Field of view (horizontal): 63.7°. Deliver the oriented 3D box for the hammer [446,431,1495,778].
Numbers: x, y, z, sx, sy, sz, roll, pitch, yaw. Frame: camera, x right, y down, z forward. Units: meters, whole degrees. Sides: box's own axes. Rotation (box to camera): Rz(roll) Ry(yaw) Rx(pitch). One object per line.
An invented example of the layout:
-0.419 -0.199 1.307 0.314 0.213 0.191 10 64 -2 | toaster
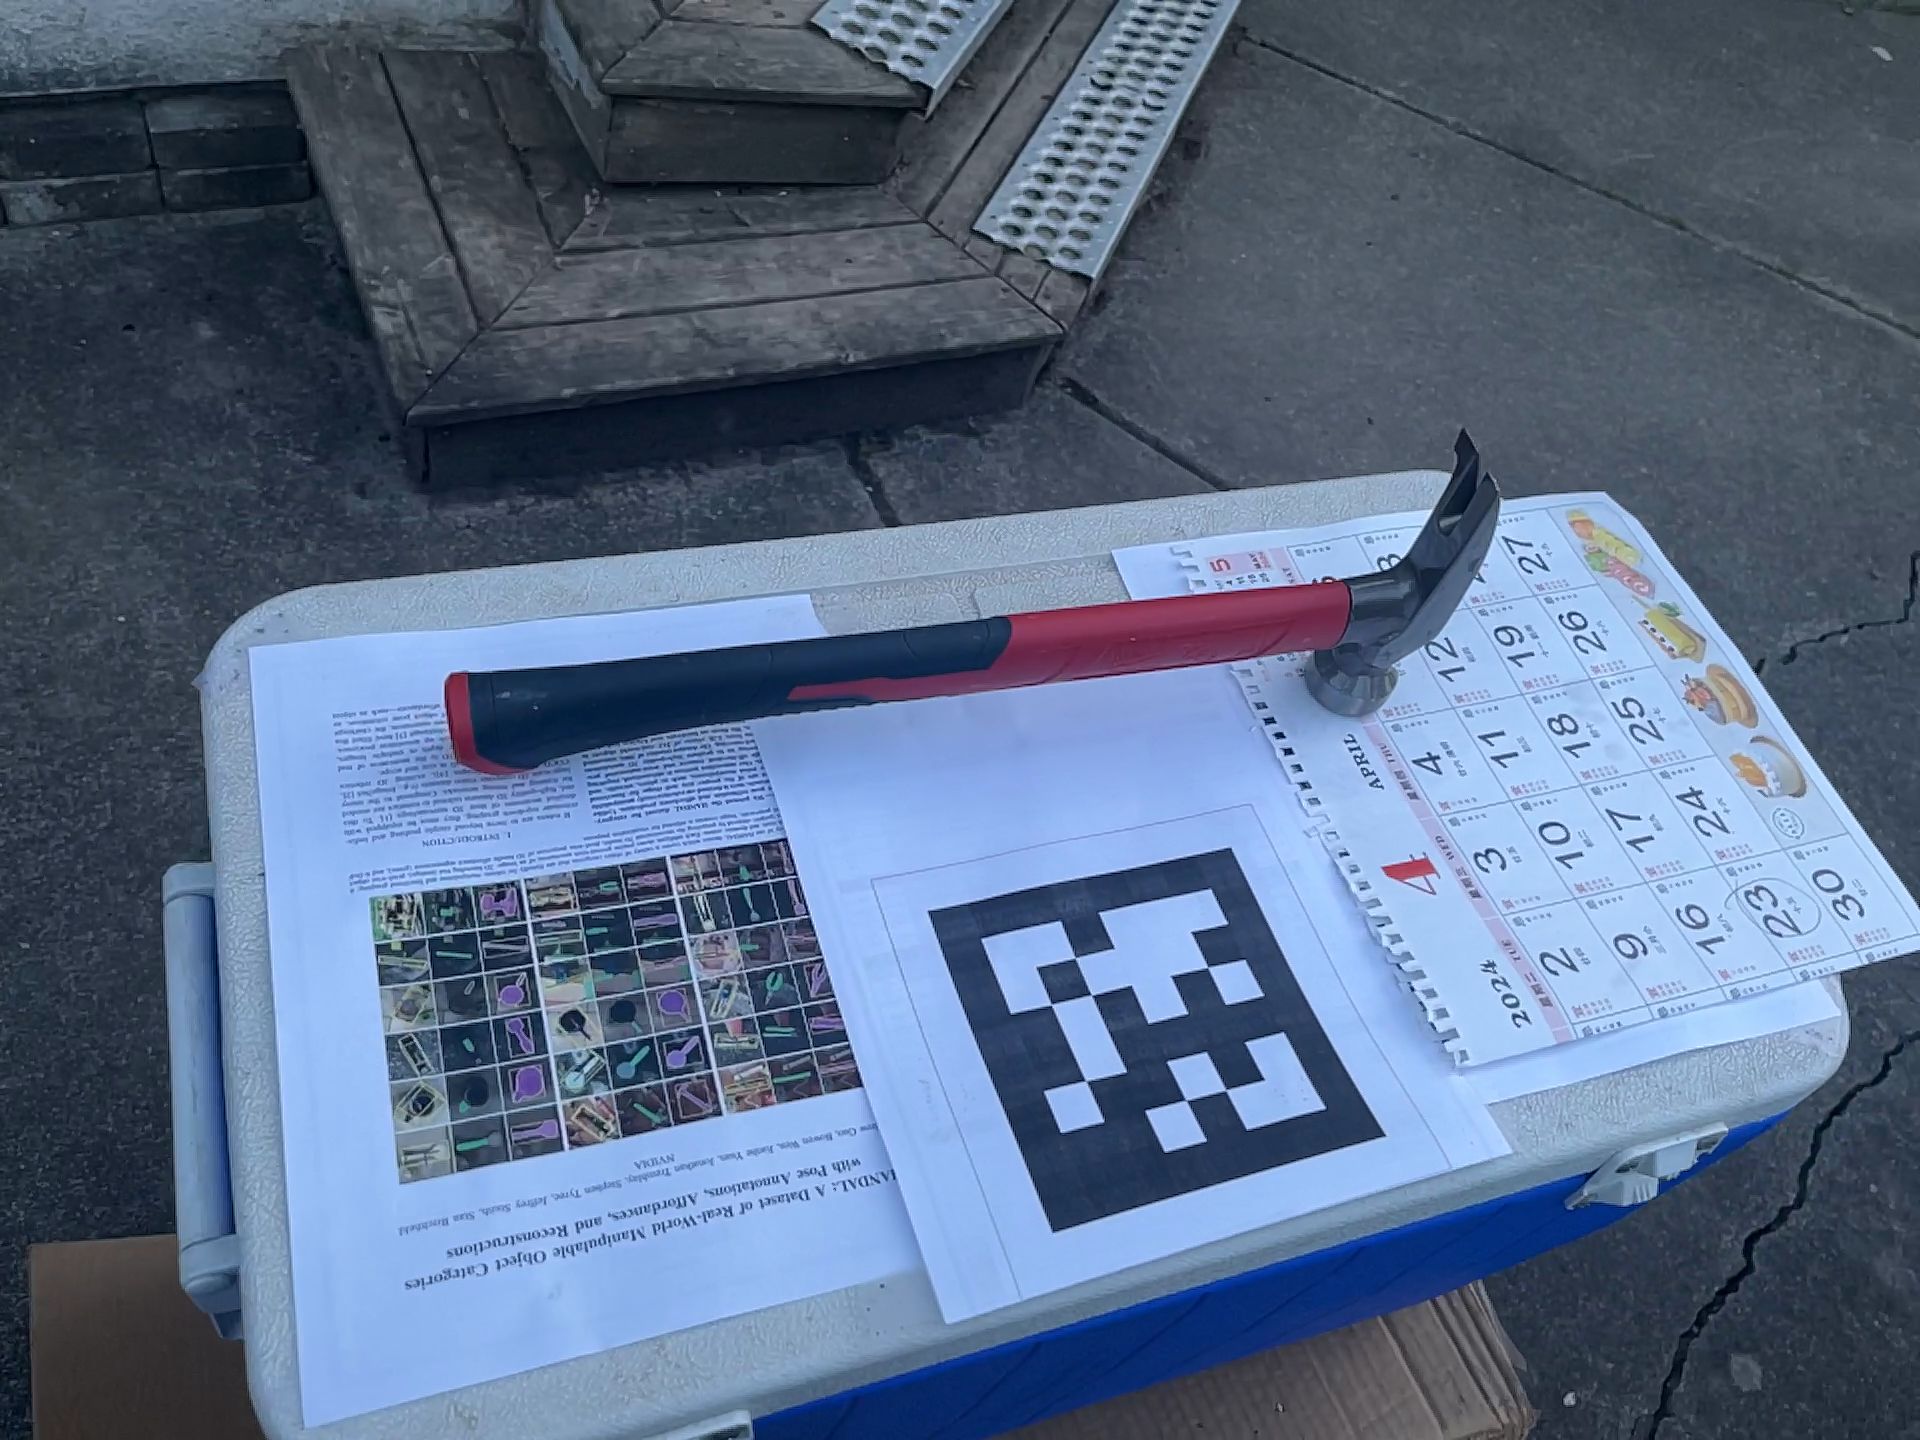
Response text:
0.008 -0.033 0.578 0.386 0.143 0.038 -7 57 -14 | hammer
